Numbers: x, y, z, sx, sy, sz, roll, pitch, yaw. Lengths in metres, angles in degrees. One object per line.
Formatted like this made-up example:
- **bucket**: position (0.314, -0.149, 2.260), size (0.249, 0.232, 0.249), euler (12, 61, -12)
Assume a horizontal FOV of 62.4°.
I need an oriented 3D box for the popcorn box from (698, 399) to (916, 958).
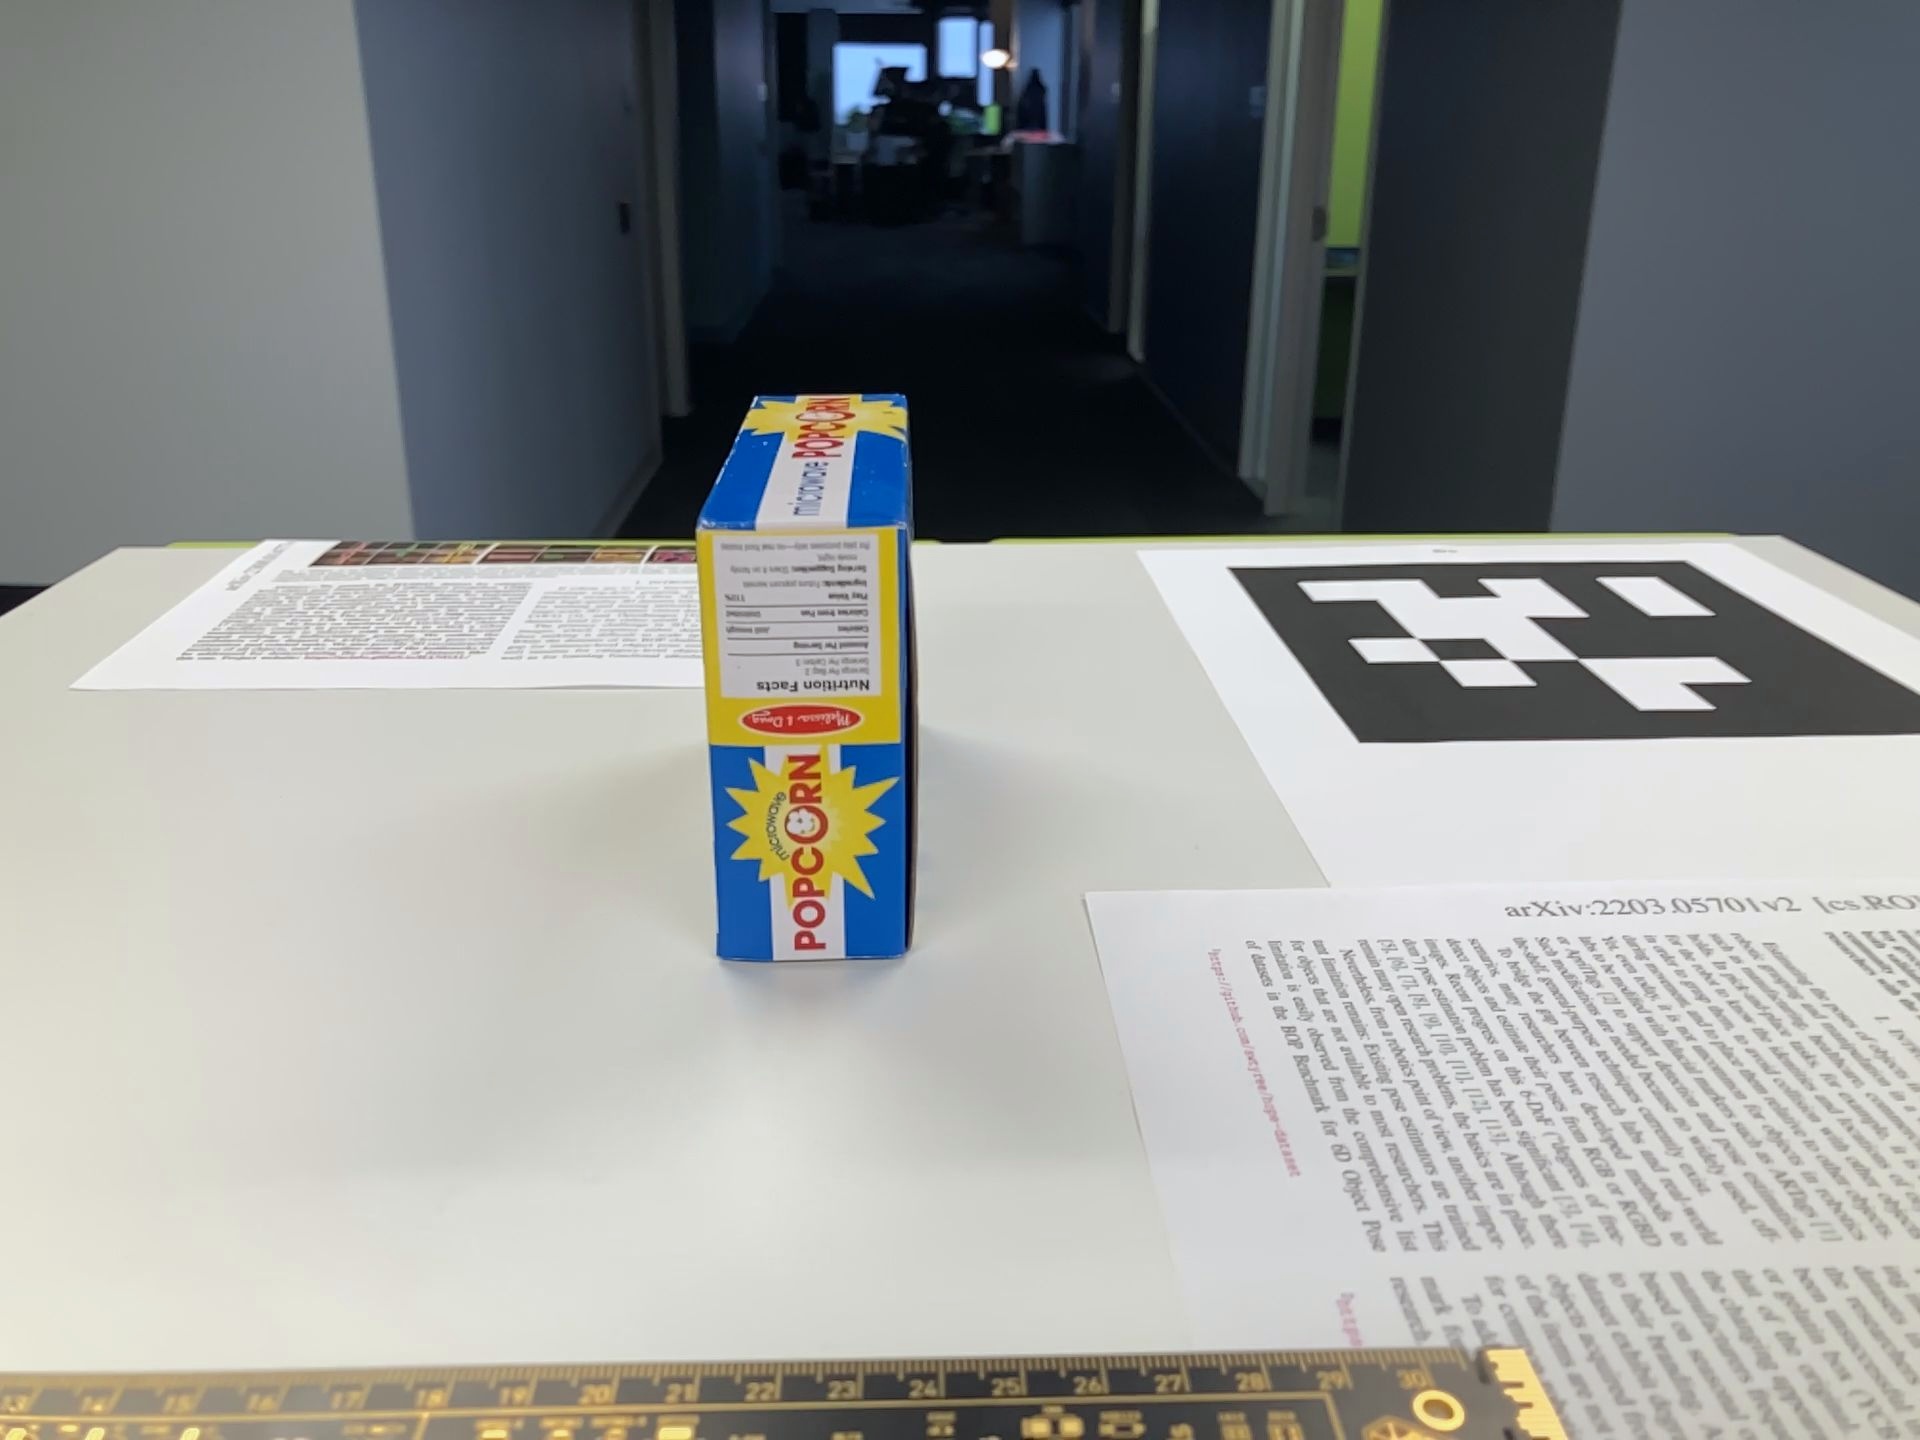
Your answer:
- **popcorn box**: position (-0.029, -0.016, 0.340), size (0.038, 0.085, 0.126), euler (-1, 21, -1)
